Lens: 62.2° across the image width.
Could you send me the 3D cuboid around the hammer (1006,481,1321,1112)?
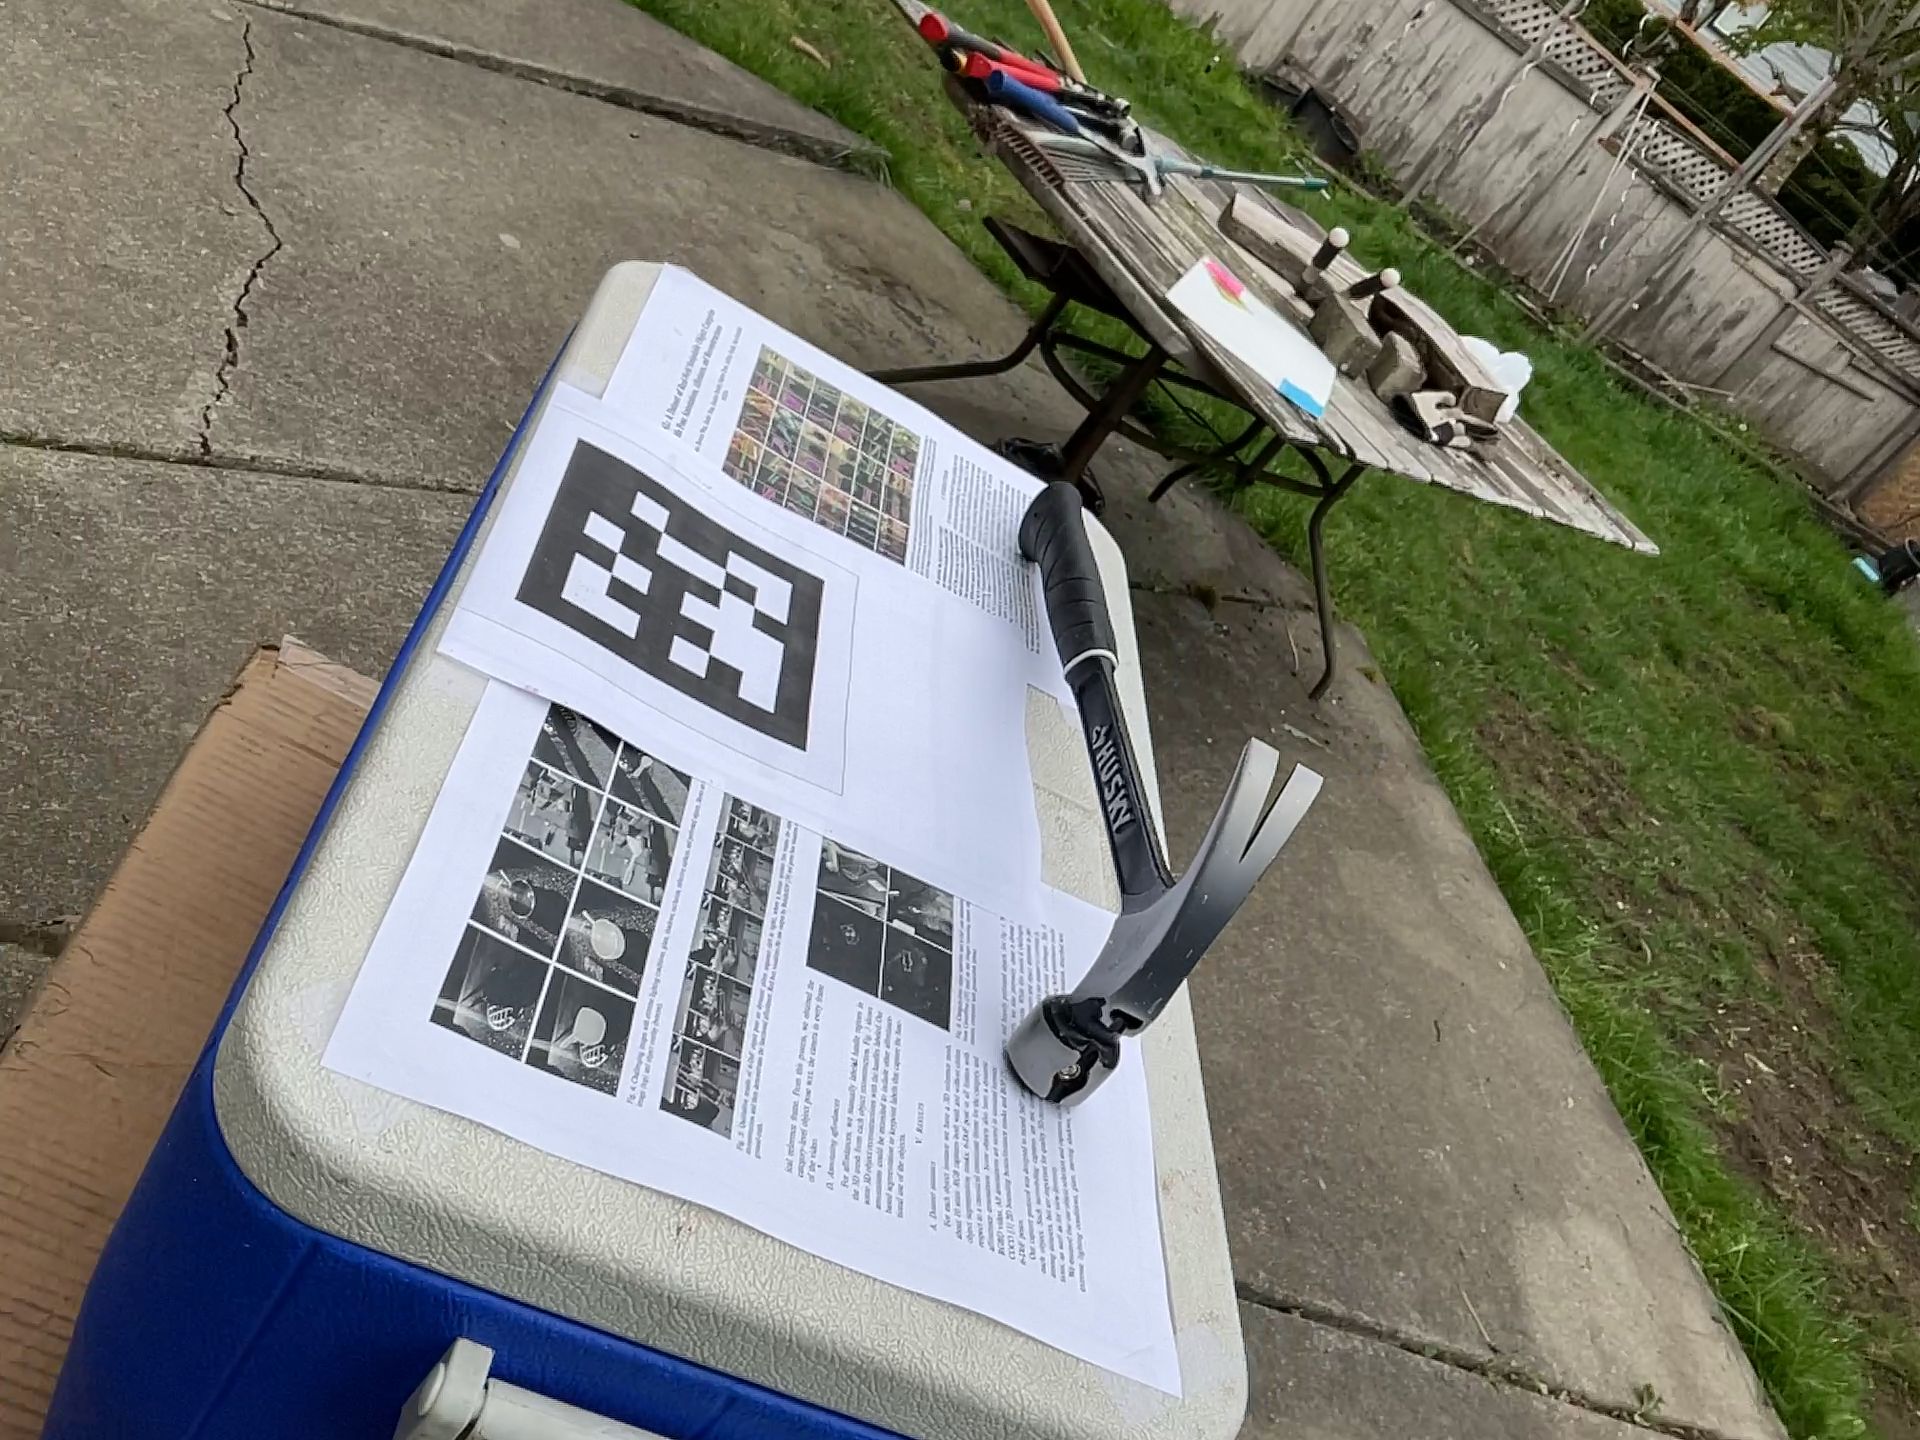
[{"bbox_3d":[0.062,-0.018,0.712,0.036,0.149,0.409,29,25,-18],"label":"hammer"}]
